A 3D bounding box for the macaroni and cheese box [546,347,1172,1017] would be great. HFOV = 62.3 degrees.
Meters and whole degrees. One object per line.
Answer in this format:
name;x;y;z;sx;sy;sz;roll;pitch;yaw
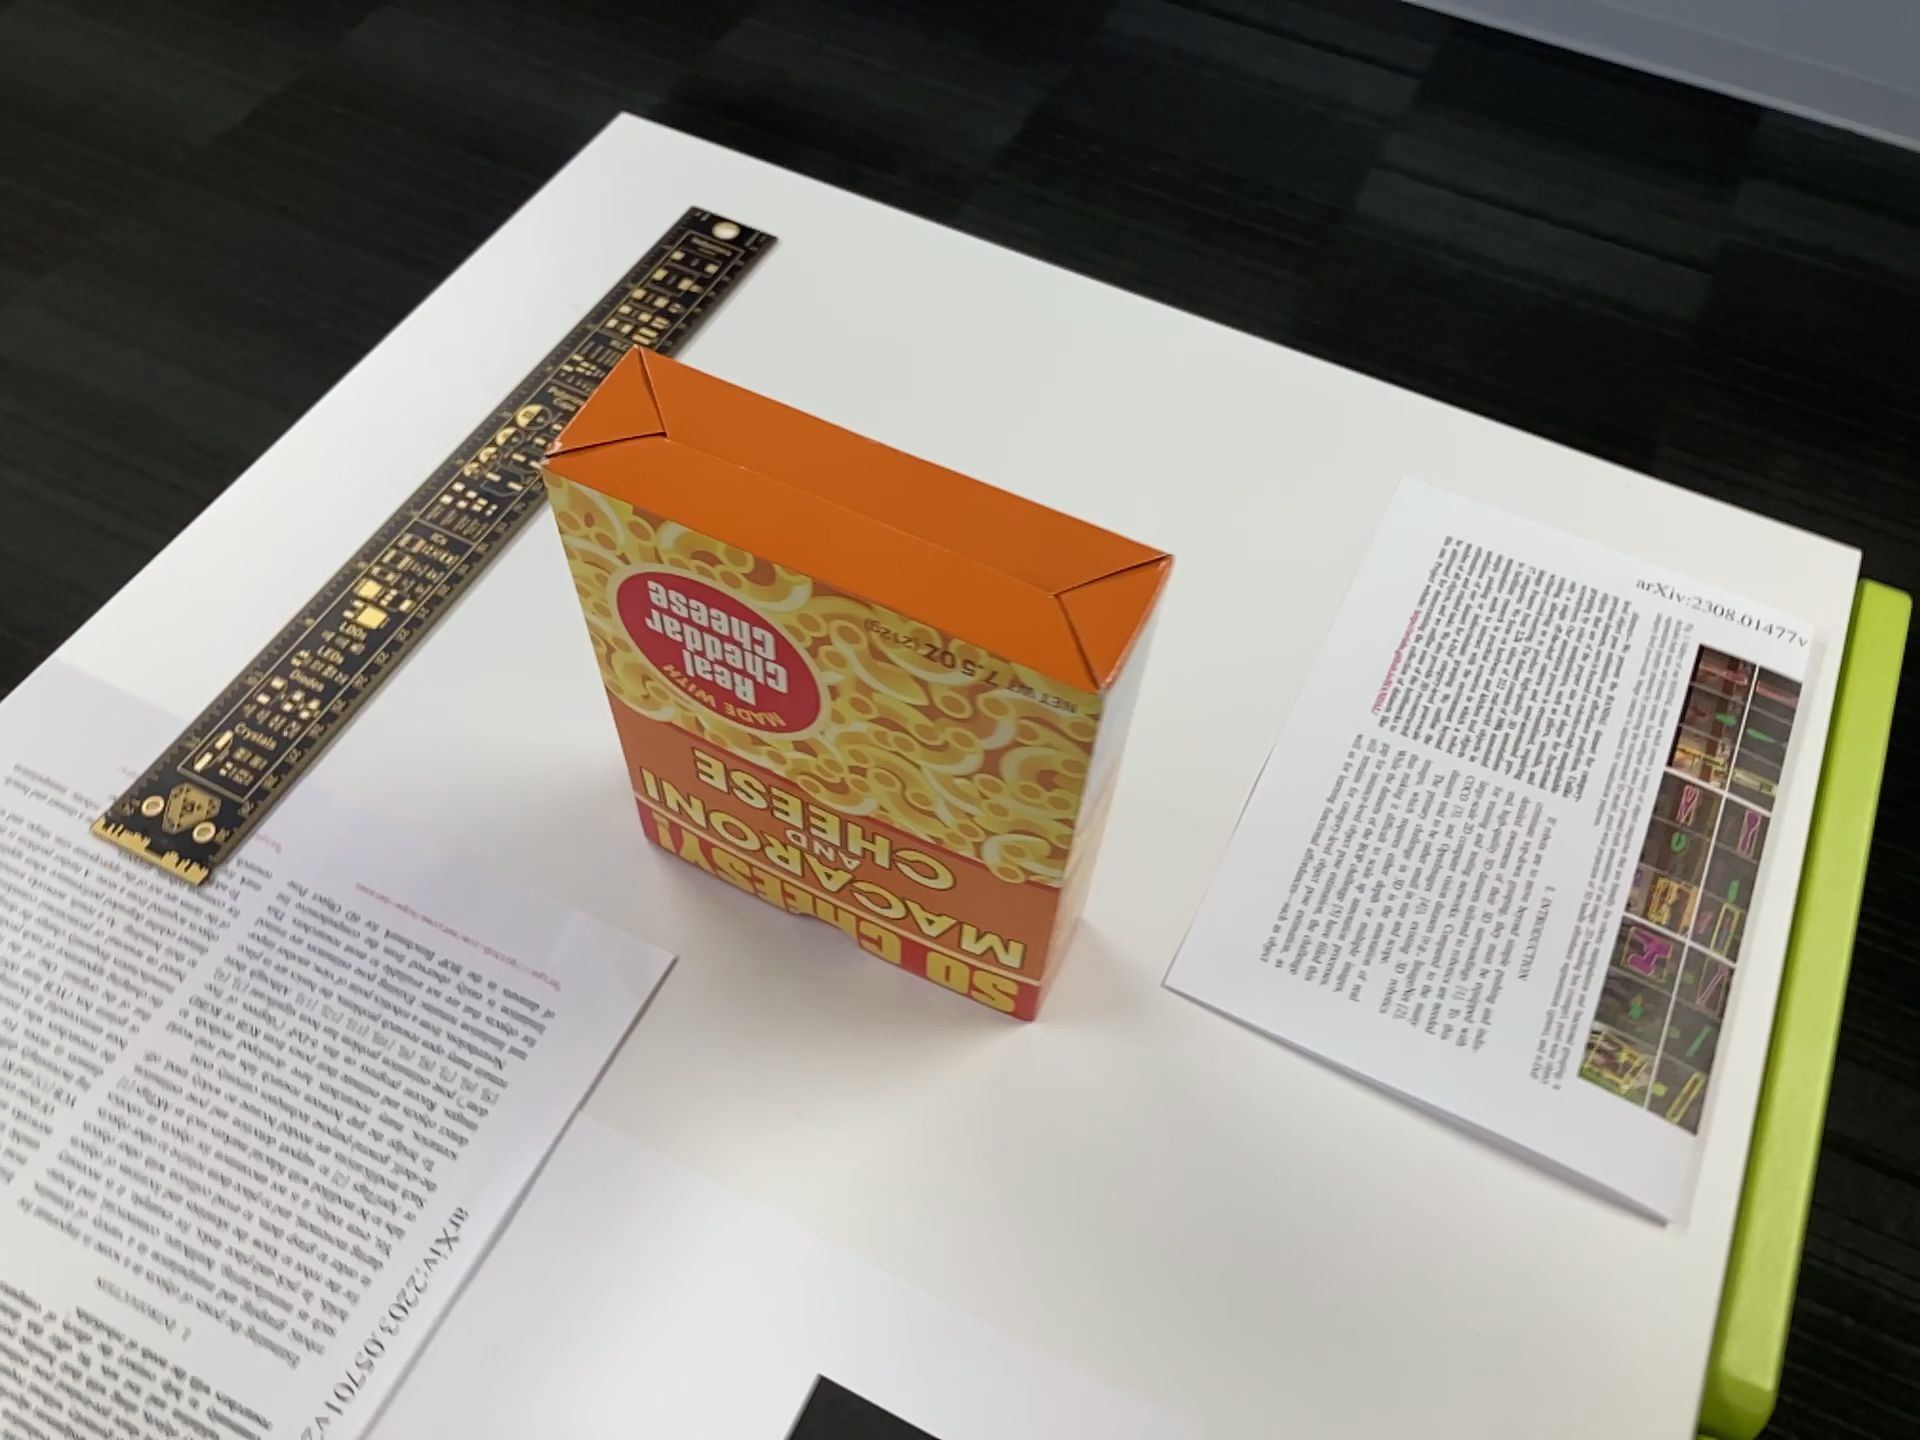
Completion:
macaroni and cheese box;-0.026;0.002;0.384;0.124;0.166;0.040;24;60;11
